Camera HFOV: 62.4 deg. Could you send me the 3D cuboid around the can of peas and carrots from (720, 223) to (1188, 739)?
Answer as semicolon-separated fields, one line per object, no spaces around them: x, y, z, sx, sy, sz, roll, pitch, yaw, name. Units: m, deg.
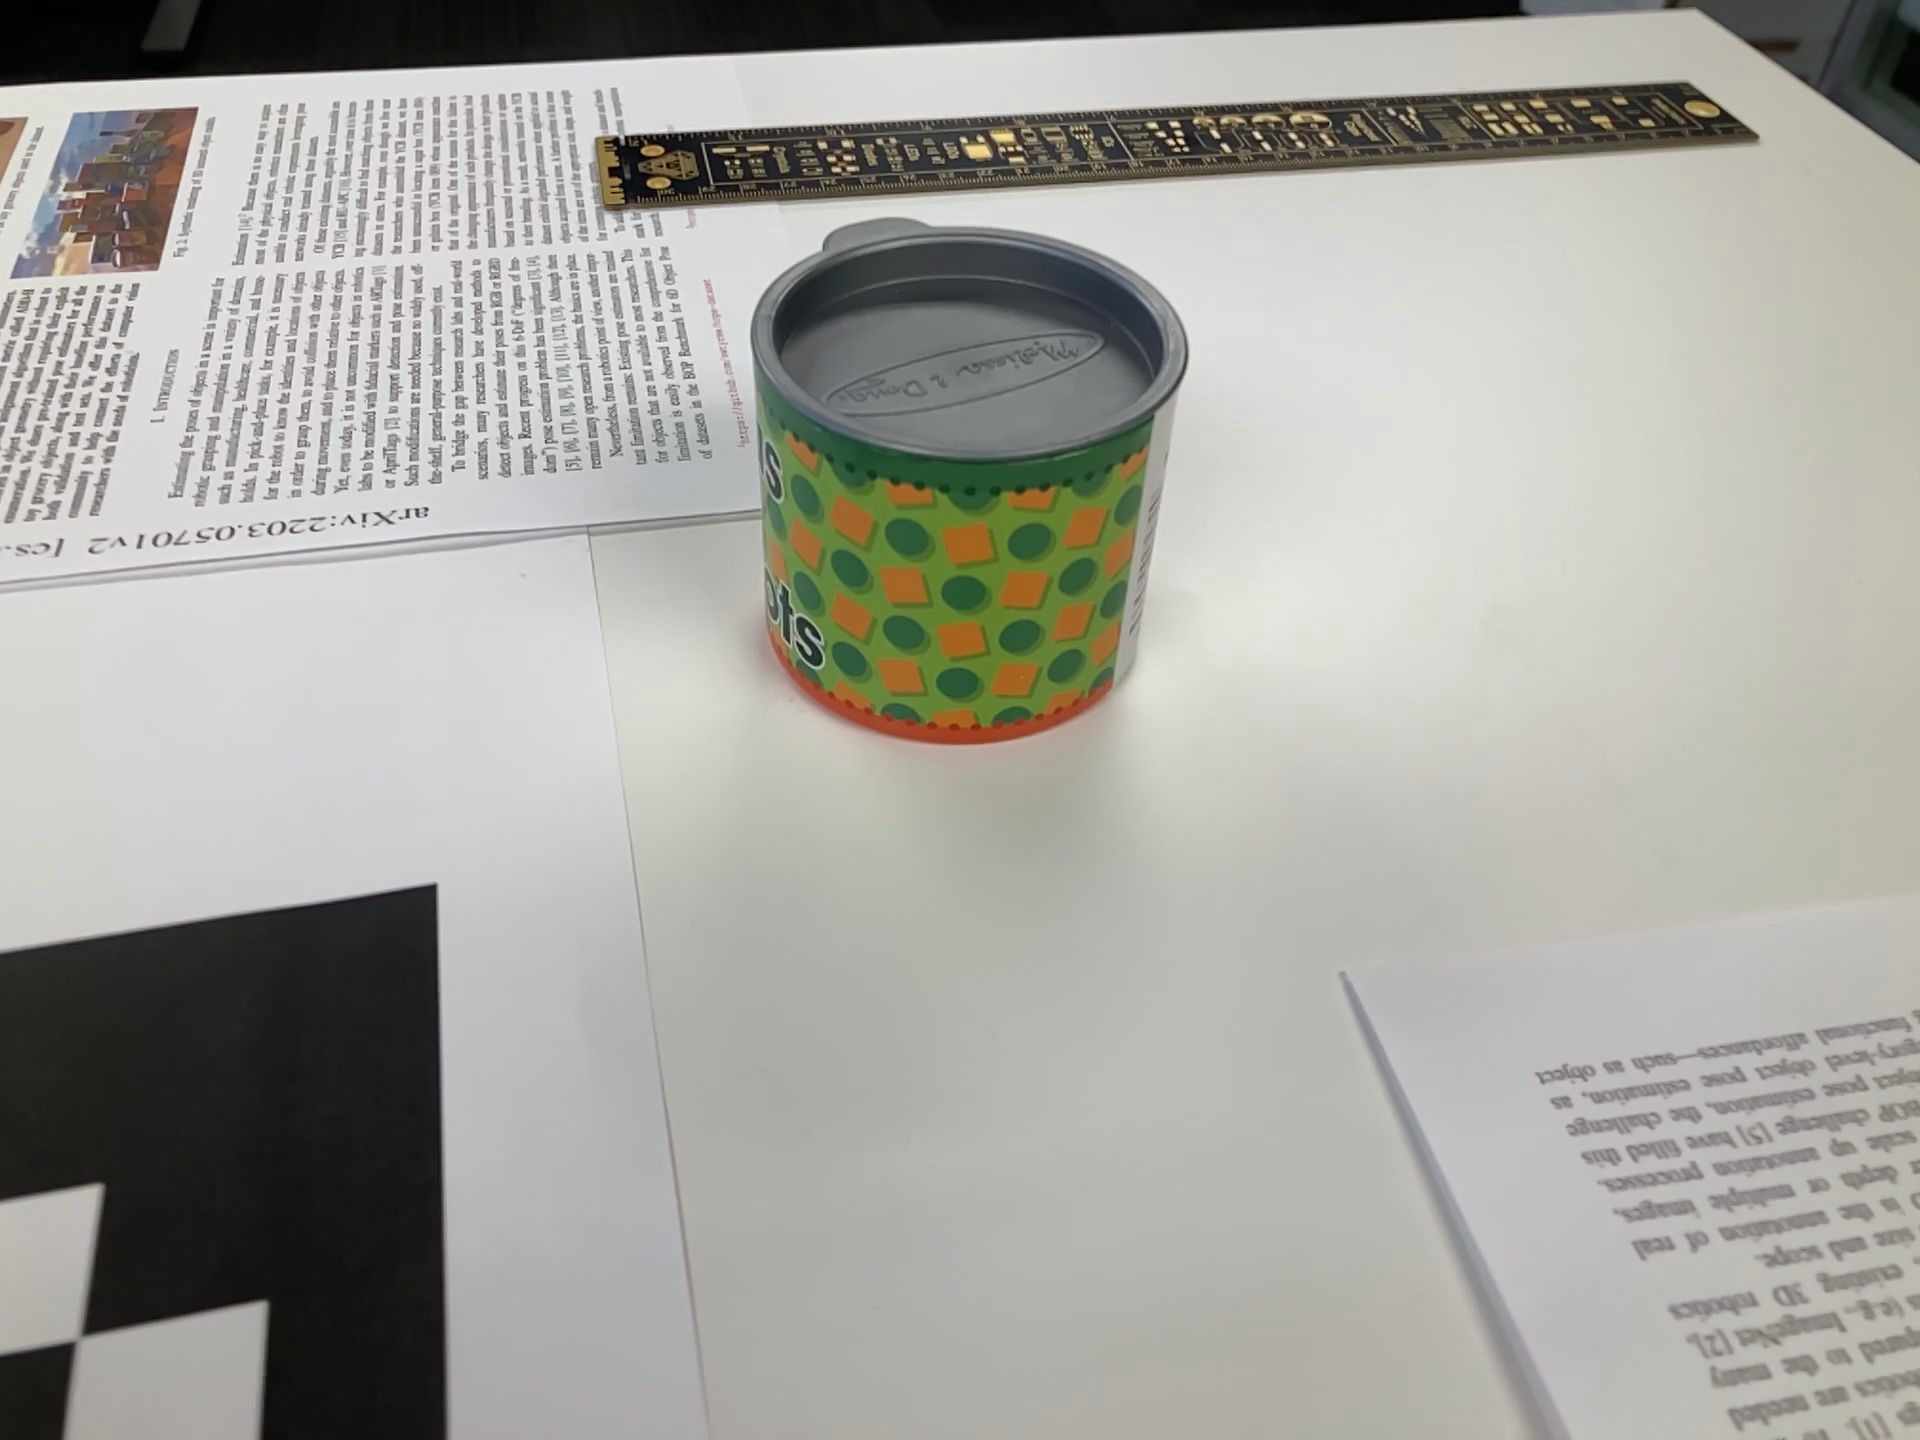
-0.002;-0.039;0.260;0.071;0.059;0.071;2;44;-2;can of peas and carrots
